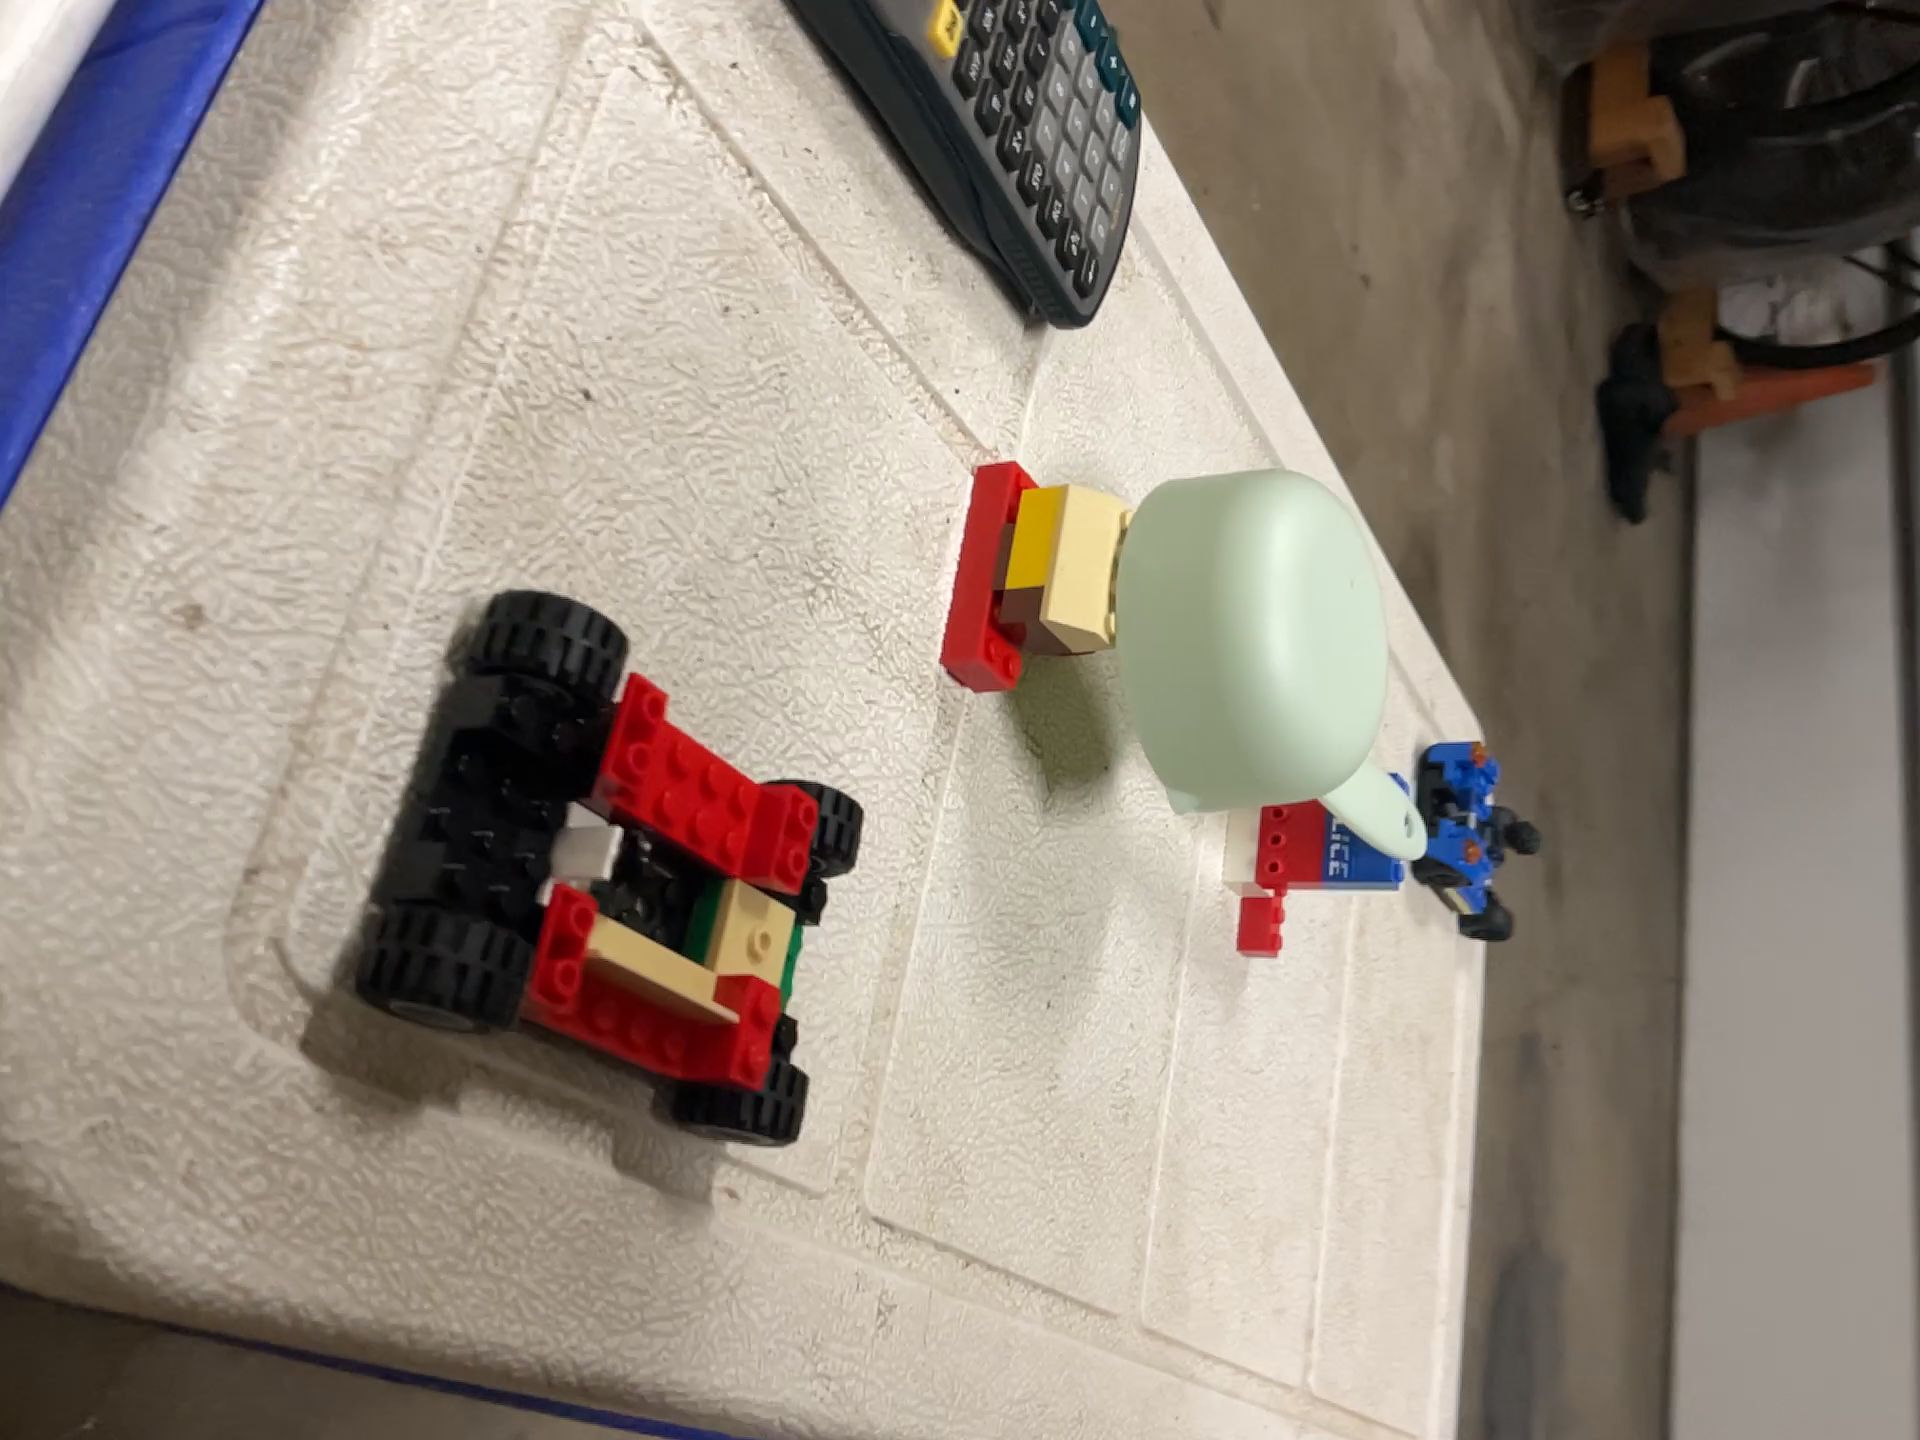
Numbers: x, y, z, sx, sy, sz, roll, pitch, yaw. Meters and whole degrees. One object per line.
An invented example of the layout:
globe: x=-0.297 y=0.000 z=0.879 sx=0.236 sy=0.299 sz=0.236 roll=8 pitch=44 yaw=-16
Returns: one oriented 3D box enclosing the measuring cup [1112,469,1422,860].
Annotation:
measuring cup: x=0.094 y=0.000 z=0.389 sx=0.168 sy=0.038 sz=0.083 roll=35 pitch=58 yaw=-45
